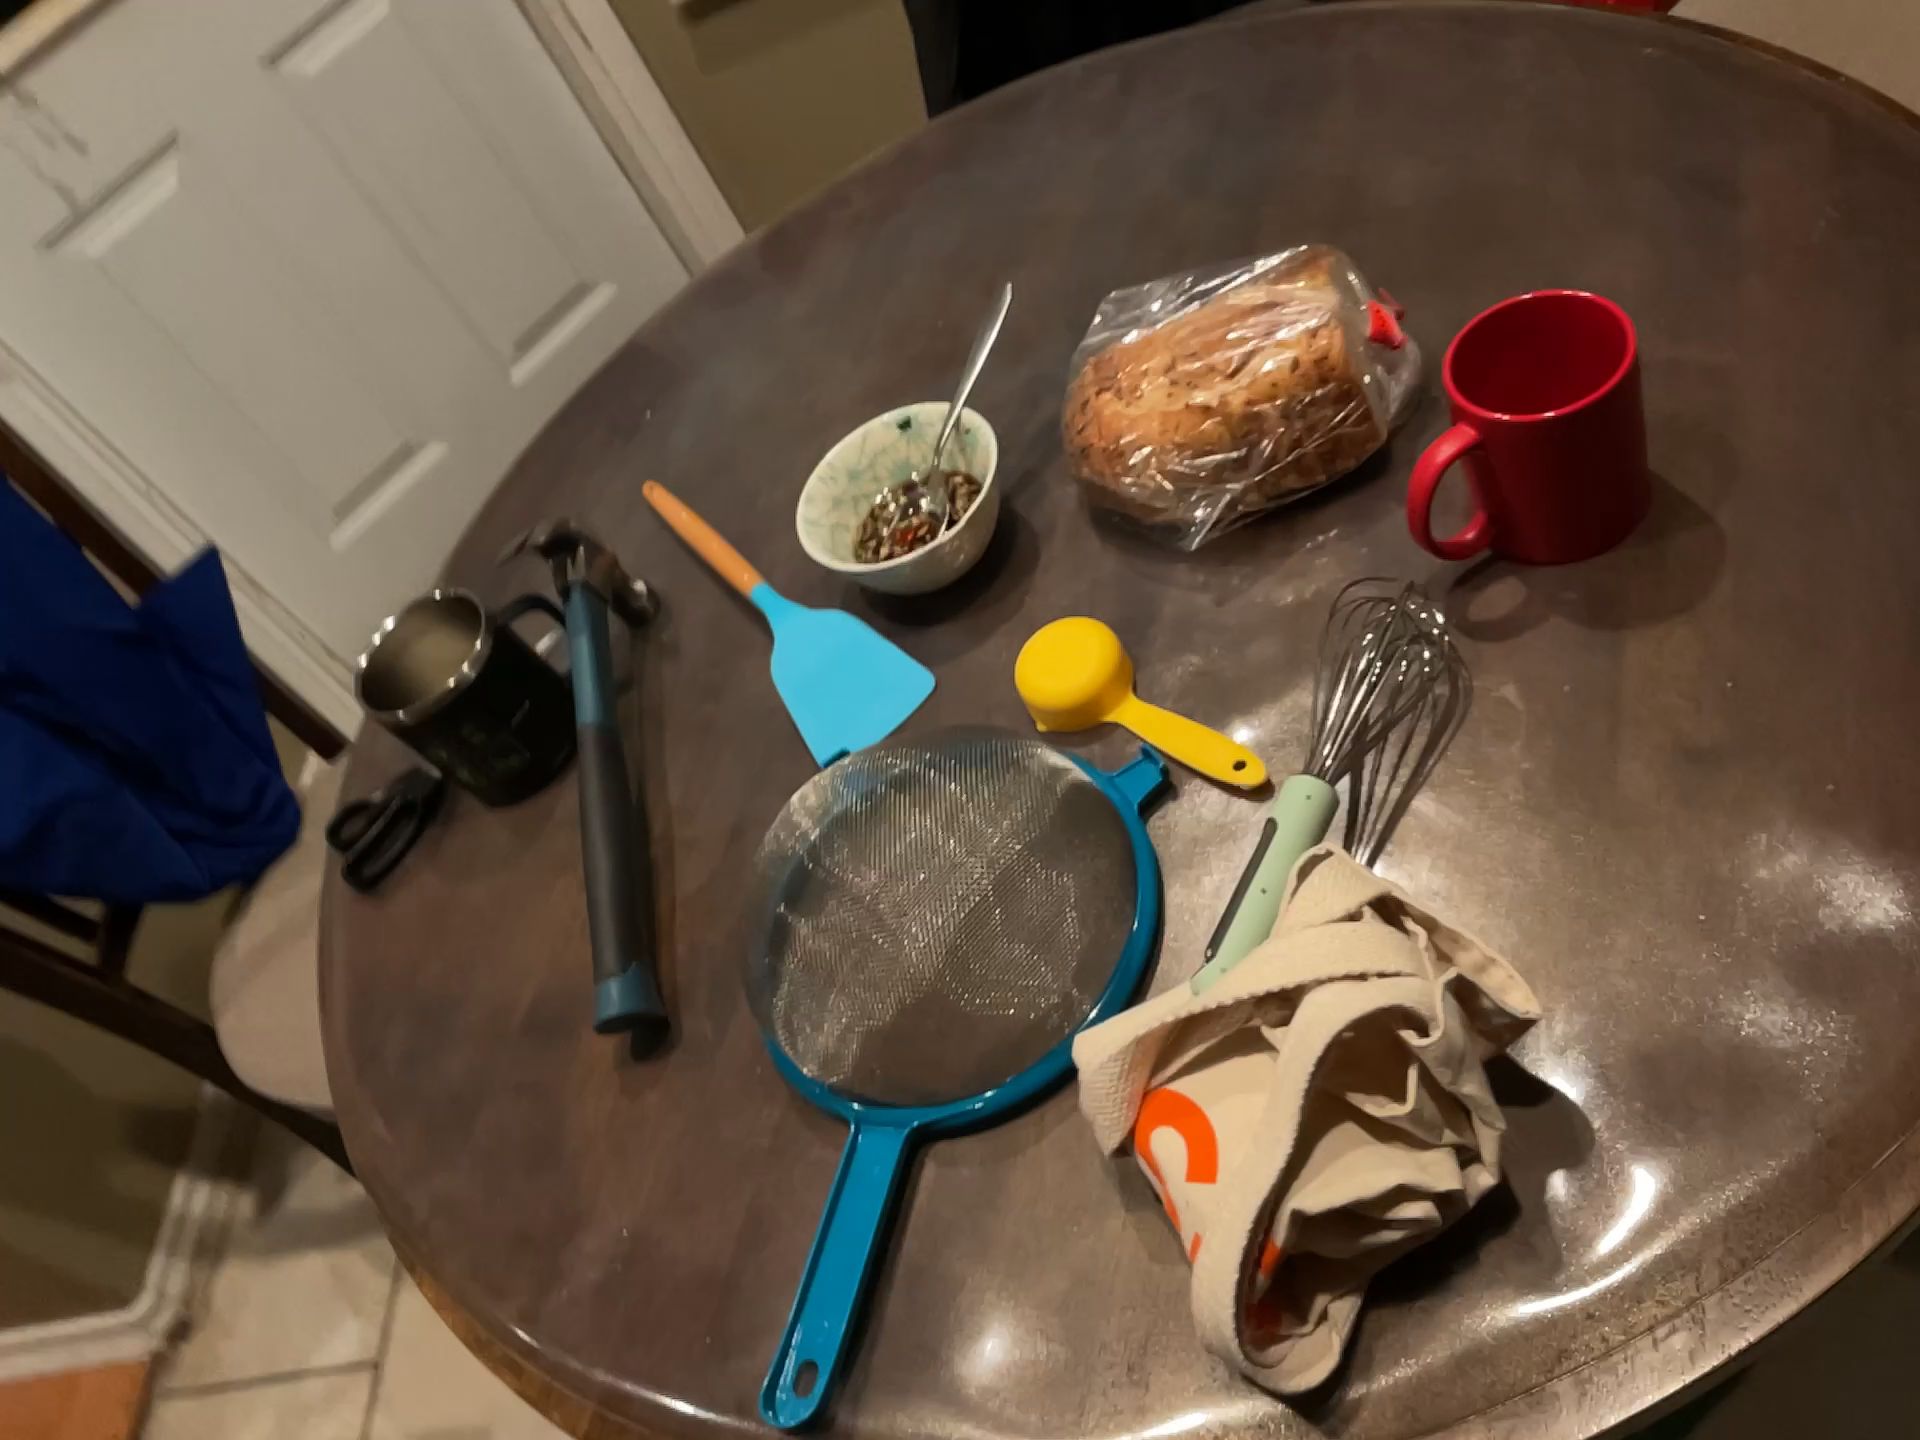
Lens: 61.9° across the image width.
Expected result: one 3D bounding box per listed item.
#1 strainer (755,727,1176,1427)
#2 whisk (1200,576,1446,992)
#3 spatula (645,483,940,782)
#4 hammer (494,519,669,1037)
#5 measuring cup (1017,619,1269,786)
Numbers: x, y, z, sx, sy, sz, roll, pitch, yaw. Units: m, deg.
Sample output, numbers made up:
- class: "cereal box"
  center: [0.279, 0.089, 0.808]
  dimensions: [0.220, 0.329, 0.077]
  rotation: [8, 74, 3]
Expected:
- class: "strainer"
  center: [-0.036, 0.125, 0.710]
  dimensions: [0.211, 0.095, 0.341]
  rotation: [-2, 50, 28]
- class: "whisk"
  center: [0.156, 0.026, 0.696]
  dimensions: [0.059, 0.057, 0.246]
  rotation: [27, 57, 8]
- class: "spatula"
  center: [-0.125, -0.075, 0.969]
  dimensions: [0.082, 0.044, 0.318]
  rotation: [-41, 42, -5]
- class: "hammer"
  center: [-0.197, 0.022, 0.886]
  dimensions: [0.033, 0.128, 0.331]
  rotation: [-24, 56, 13]
- class: "measuring cup"
  center: [0.088, -0.008, 0.791]
  dimensions: [0.062, 0.029, 0.156]
  rotation: [-48, 46, -13]
